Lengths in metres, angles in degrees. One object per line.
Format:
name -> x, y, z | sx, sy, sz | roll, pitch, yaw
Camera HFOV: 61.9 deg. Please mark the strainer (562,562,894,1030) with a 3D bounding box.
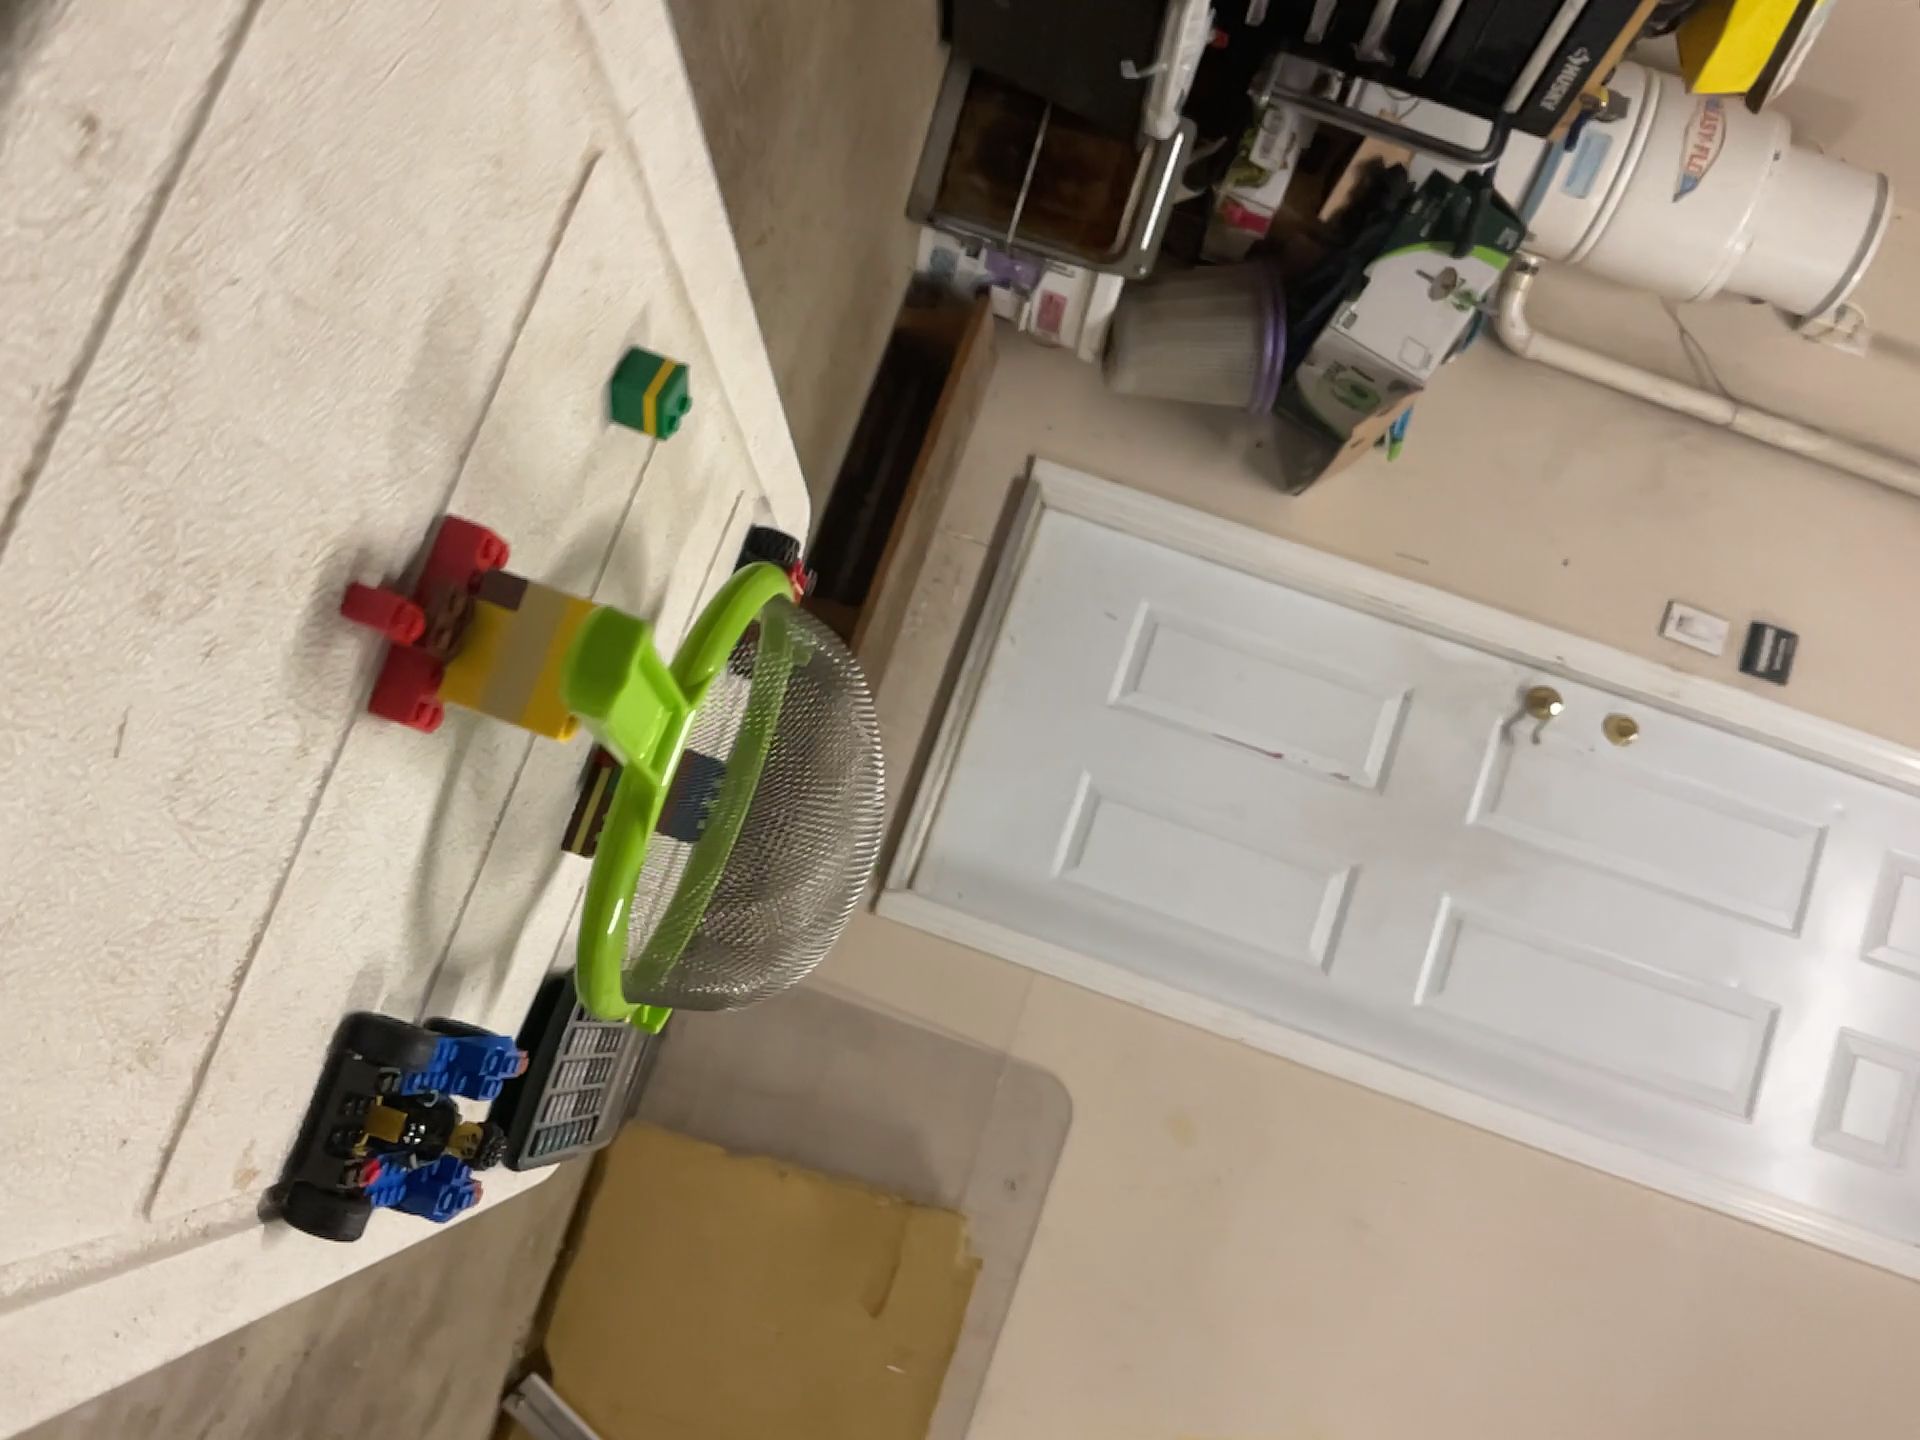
strainer -> -0.057, 0.021, 0.451 | 0.256, 0.069, 0.151 | 103, 8, -78
